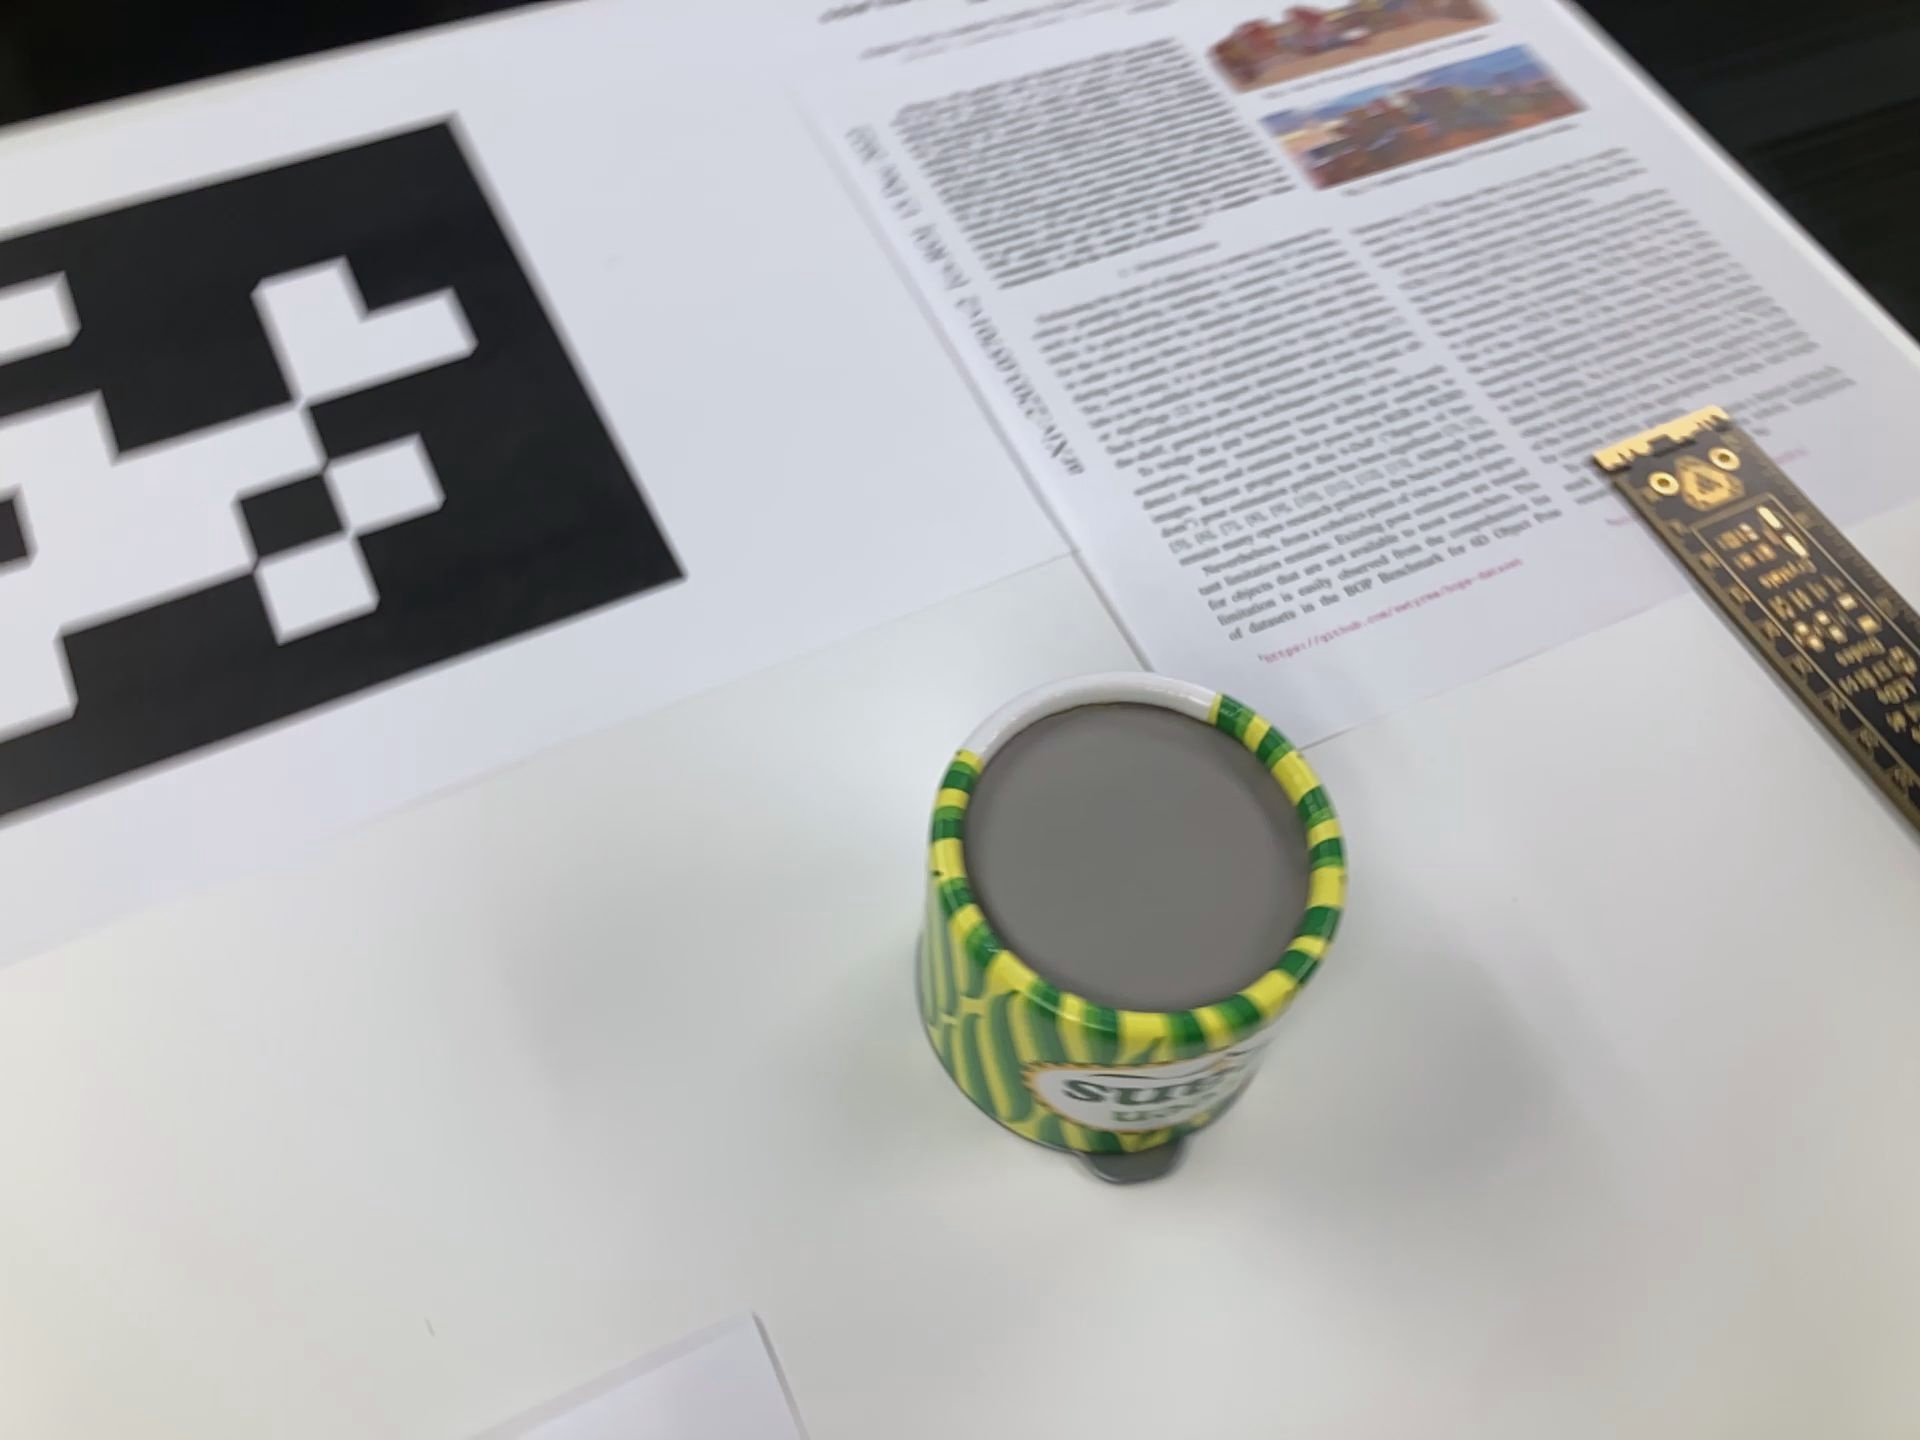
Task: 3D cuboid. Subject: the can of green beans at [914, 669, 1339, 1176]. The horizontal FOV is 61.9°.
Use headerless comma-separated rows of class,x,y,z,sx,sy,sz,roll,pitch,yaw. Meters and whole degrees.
can of green beans,0.026,0.033,0.276,0.071,0.058,0.071,2,59,-3
